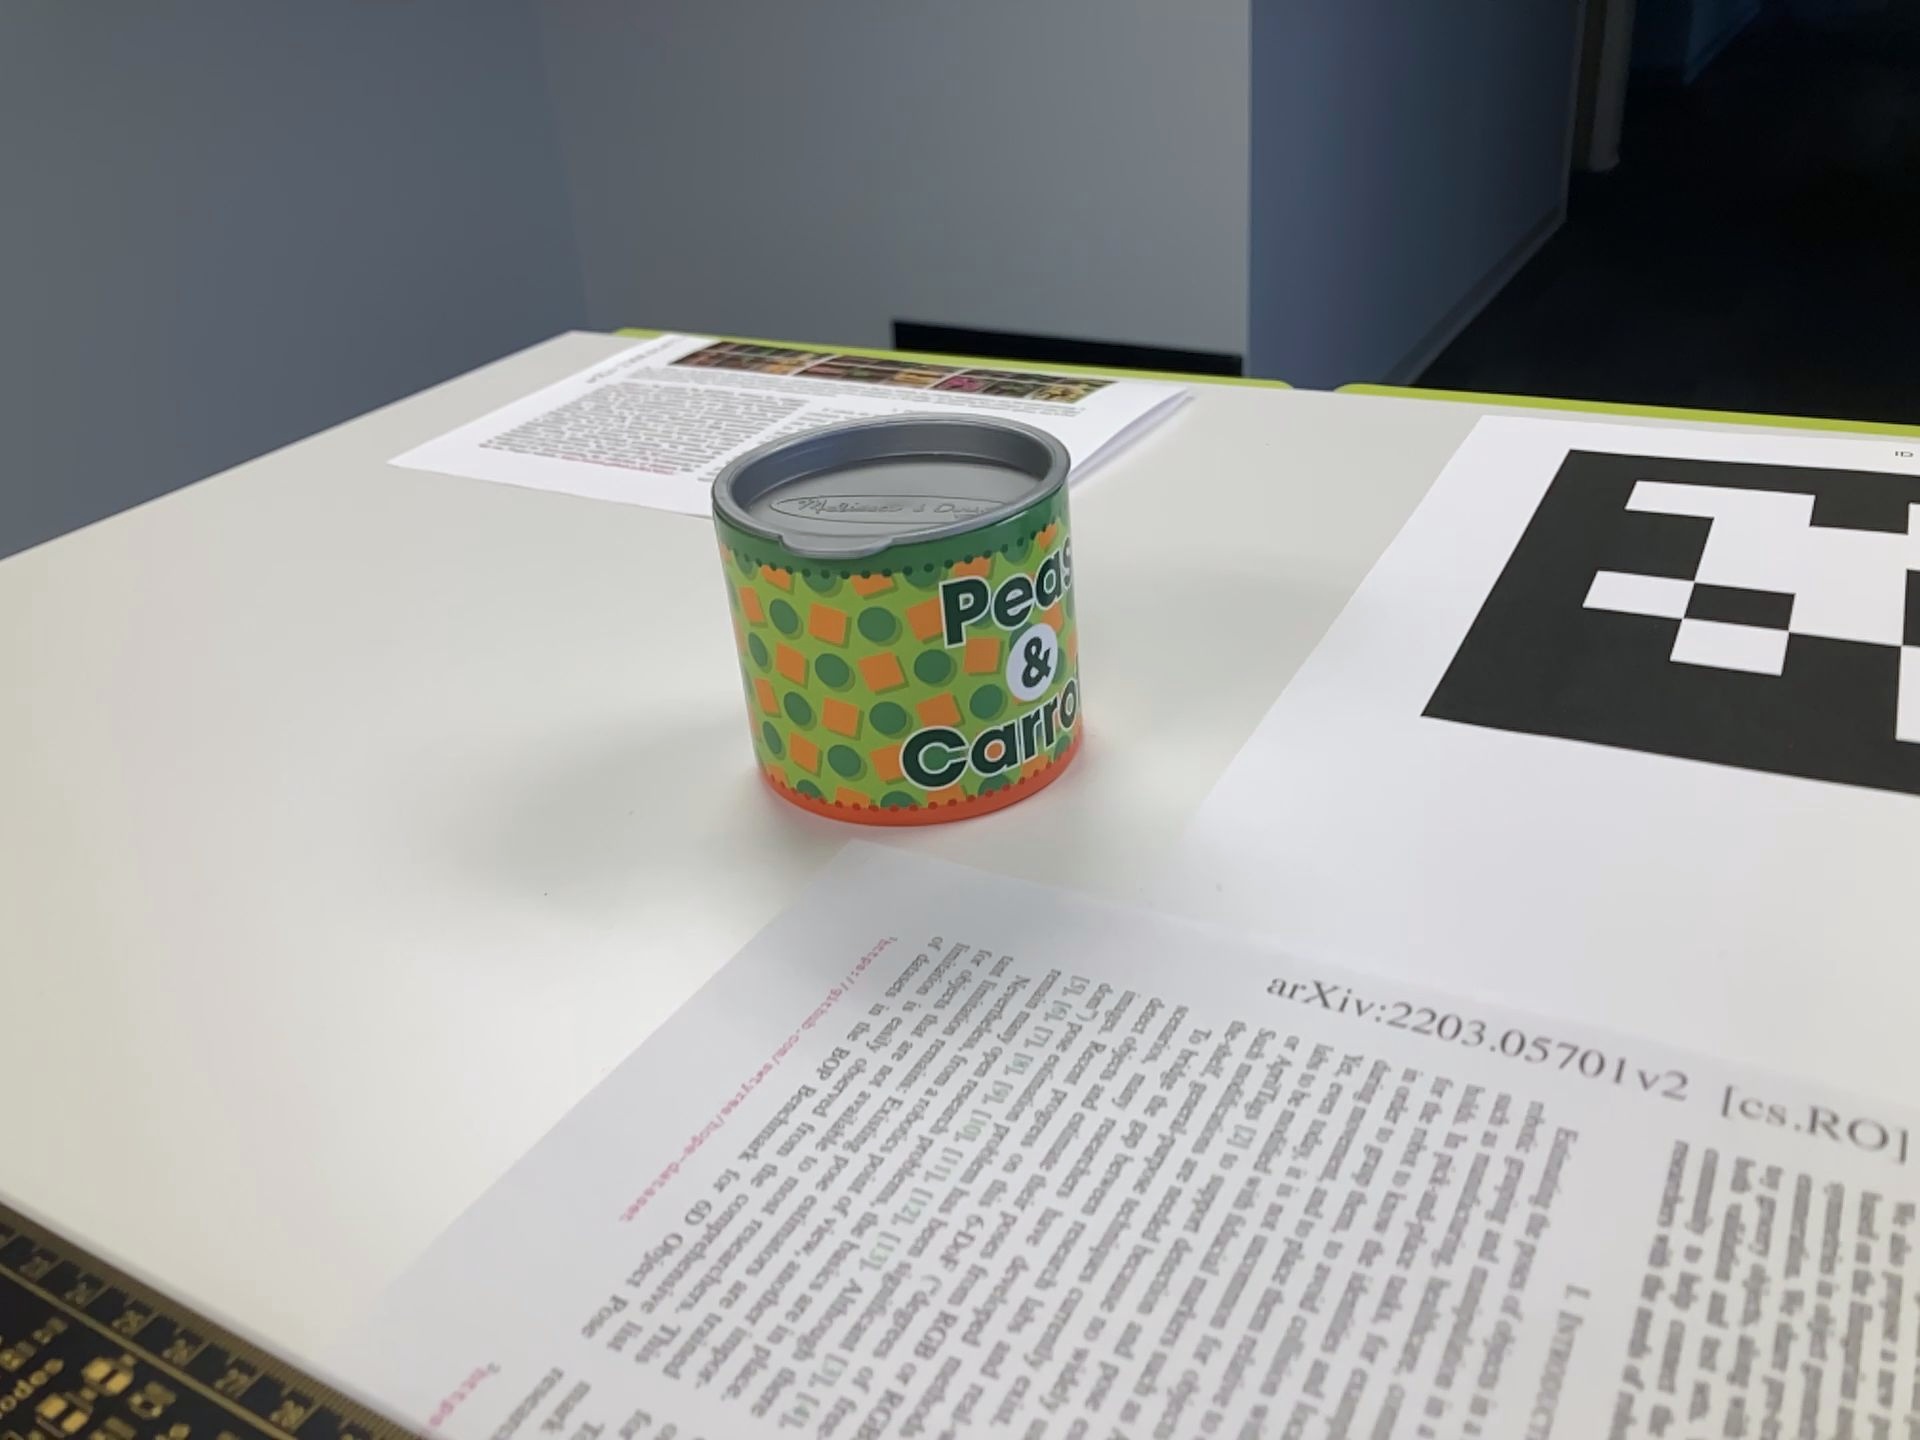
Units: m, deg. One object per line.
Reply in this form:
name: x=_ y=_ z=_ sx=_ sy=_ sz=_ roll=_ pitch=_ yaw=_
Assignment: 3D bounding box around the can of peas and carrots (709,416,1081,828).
can of peas and carrots: x=-0.009 y=-0.020 z=0.302 sx=0.071 sy=0.059 sz=0.071 roll=-4 pitch=28 yaw=2
